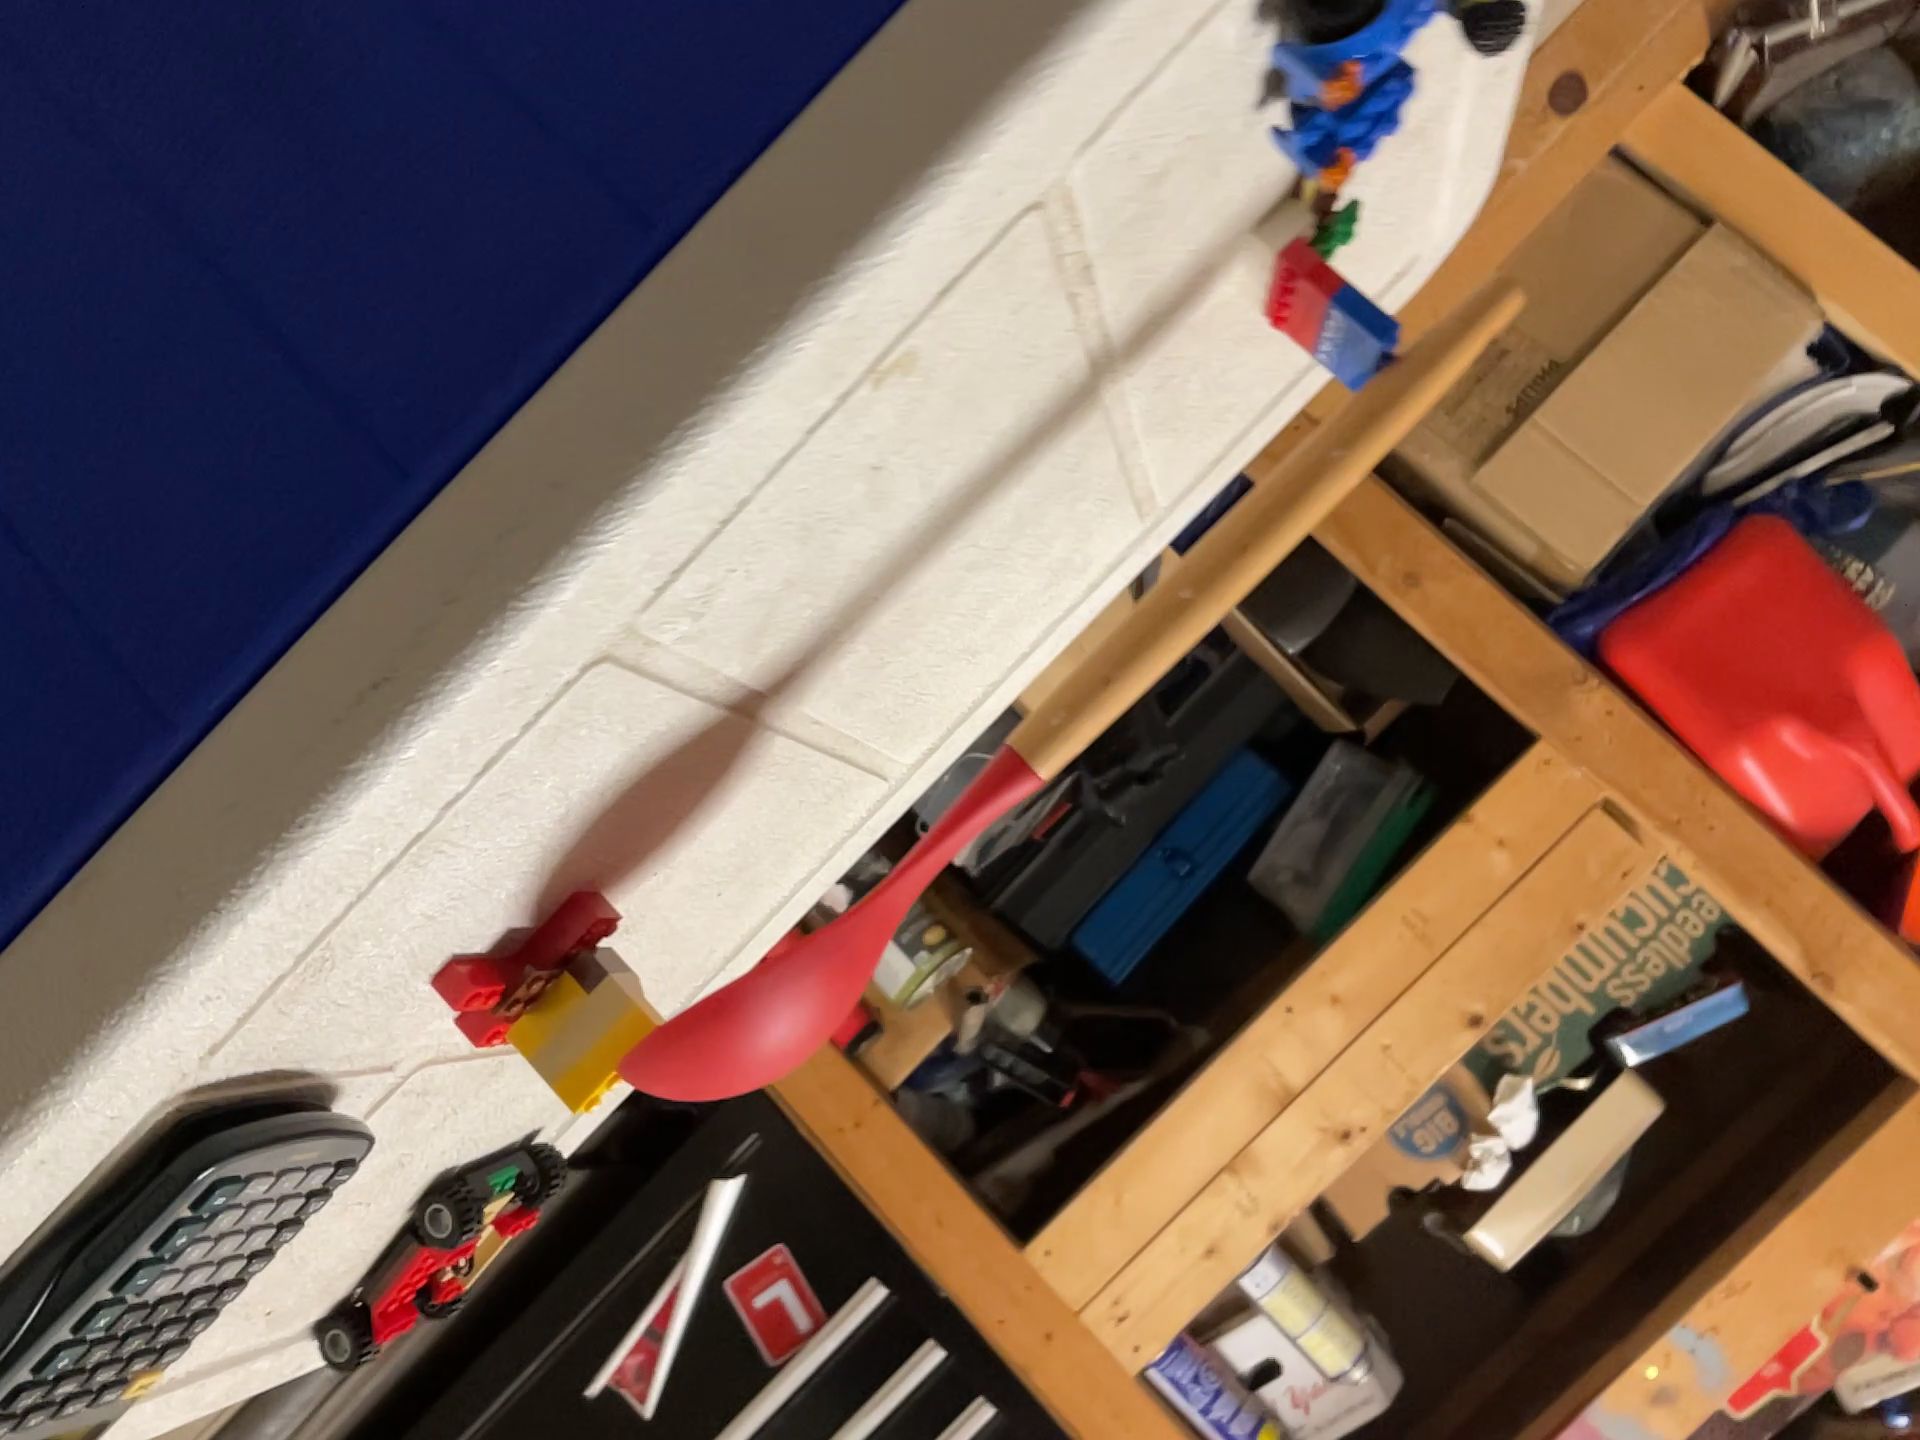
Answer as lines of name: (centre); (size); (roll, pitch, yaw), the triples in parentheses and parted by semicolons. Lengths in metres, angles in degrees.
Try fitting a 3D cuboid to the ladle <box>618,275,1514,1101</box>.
ladle: (0.035, -0.007, 0.424); (0.315, 0.031, 0.069); (-45, 165, -4)
